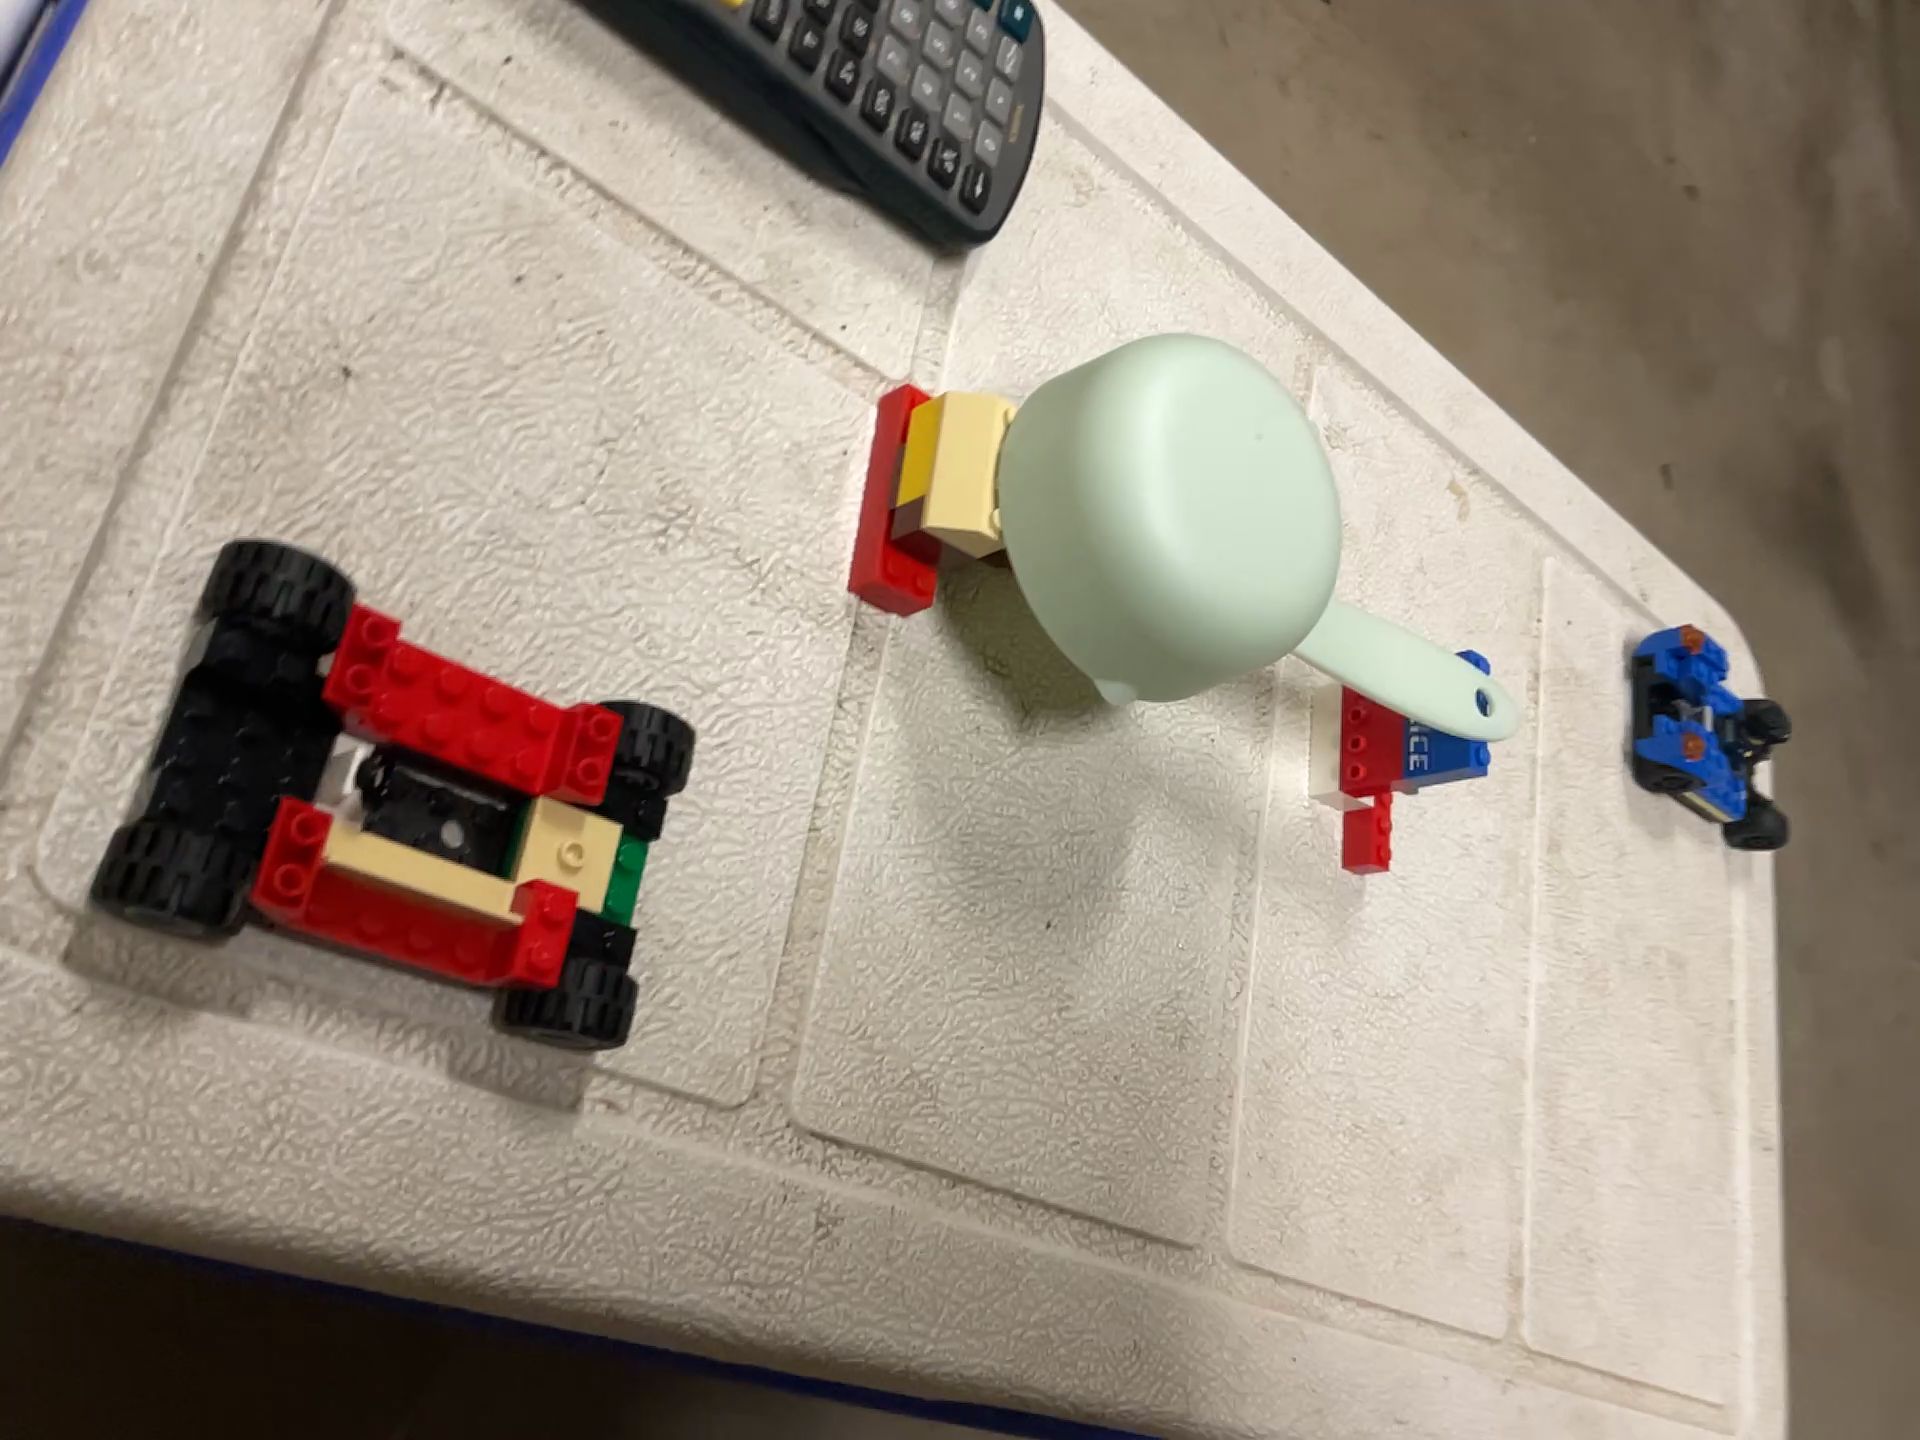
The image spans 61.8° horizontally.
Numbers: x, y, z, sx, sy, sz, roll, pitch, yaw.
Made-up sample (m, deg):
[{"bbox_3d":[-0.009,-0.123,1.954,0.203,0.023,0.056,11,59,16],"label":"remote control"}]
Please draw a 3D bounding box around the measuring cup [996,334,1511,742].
[{"bbox_3d":[0.084,-0.030,0.364,0.168,0.038,0.083,22,65,-30],"label":"measuring cup"}]
